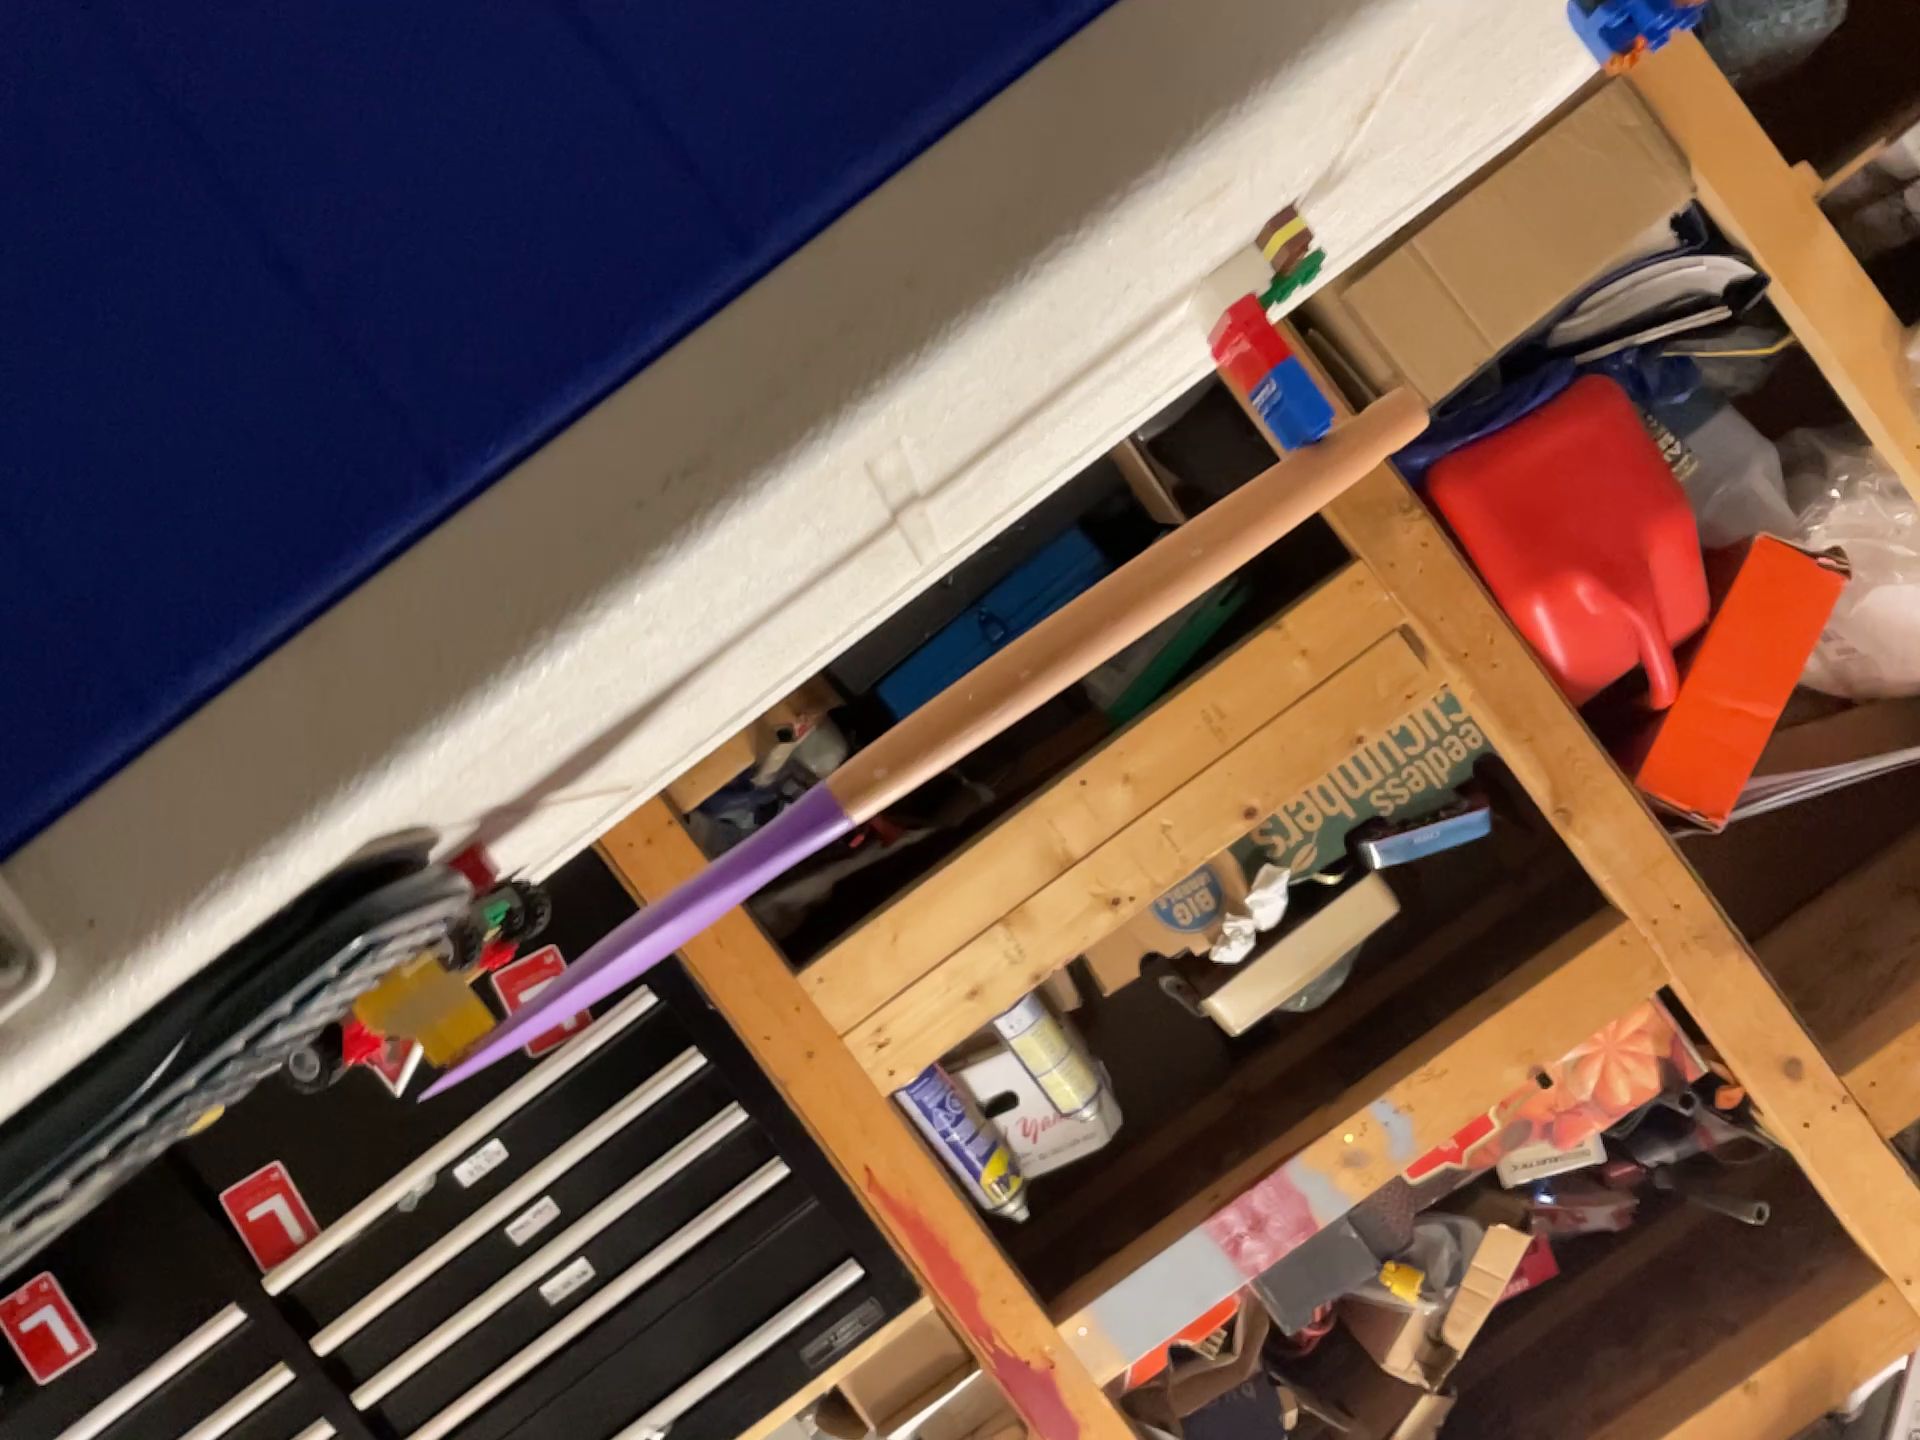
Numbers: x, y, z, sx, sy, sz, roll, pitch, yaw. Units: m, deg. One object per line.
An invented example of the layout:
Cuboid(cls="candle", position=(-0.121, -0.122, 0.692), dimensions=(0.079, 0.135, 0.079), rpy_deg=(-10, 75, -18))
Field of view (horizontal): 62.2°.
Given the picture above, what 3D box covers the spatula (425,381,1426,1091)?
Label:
Cuboid(cls="spatula", position=(-0.010, 0.006, 0.428), dimensions=(0.316, 0.018, 0.060), rpy_deg=(-35, 179, 3))
